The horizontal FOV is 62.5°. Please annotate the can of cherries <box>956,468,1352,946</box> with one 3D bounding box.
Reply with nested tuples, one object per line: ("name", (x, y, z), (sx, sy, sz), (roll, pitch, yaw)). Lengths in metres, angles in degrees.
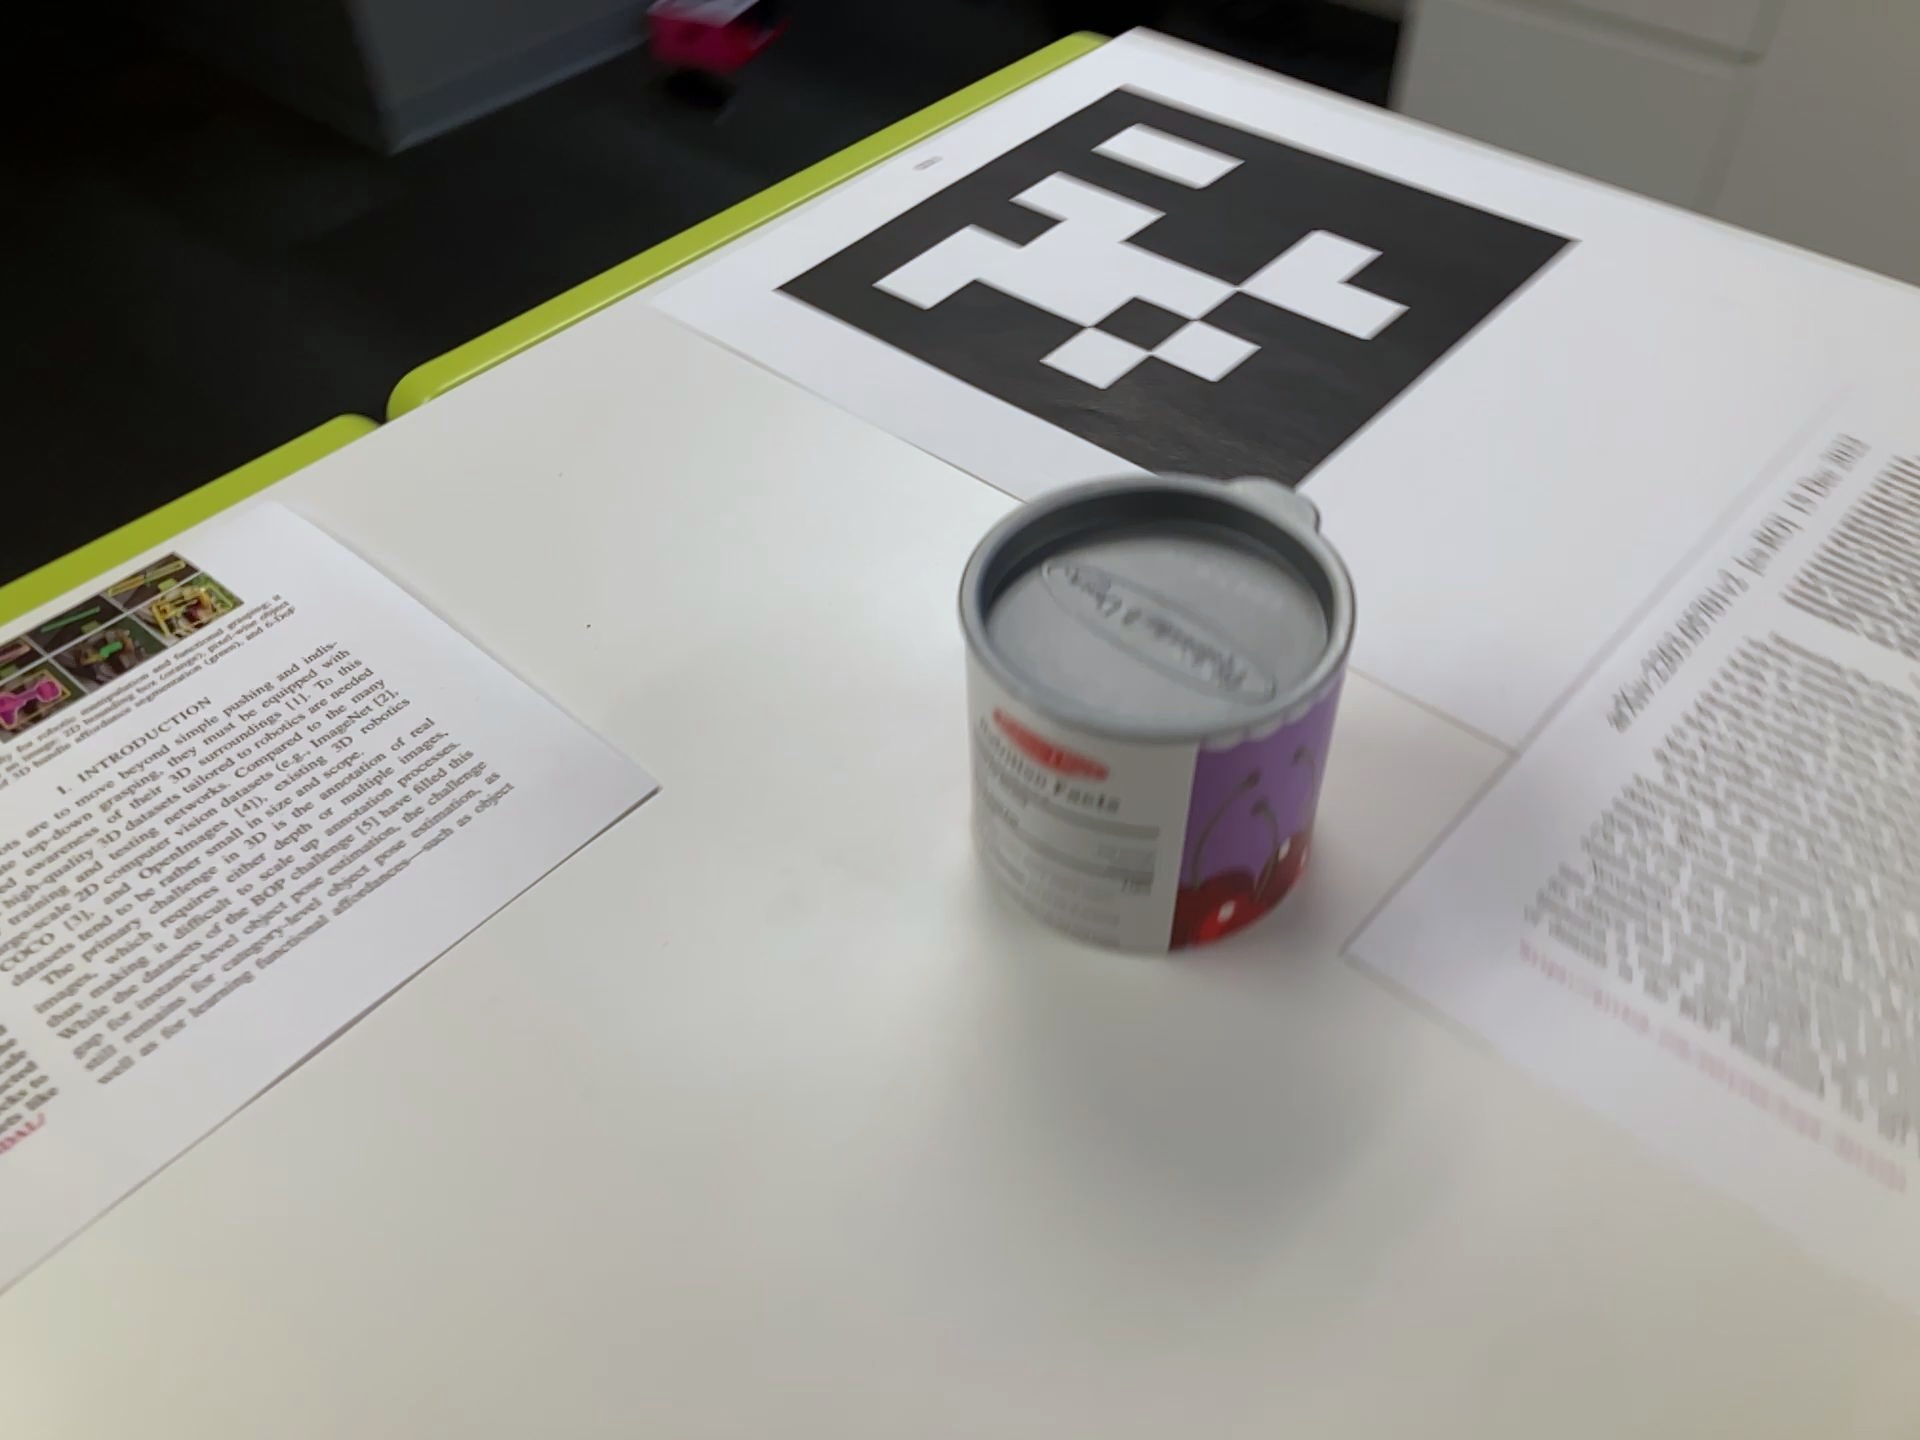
("can of cherries", (0.035, -0.003, 0.287), (0.071, 0.058, 0.071), (-1, 46, 1))
